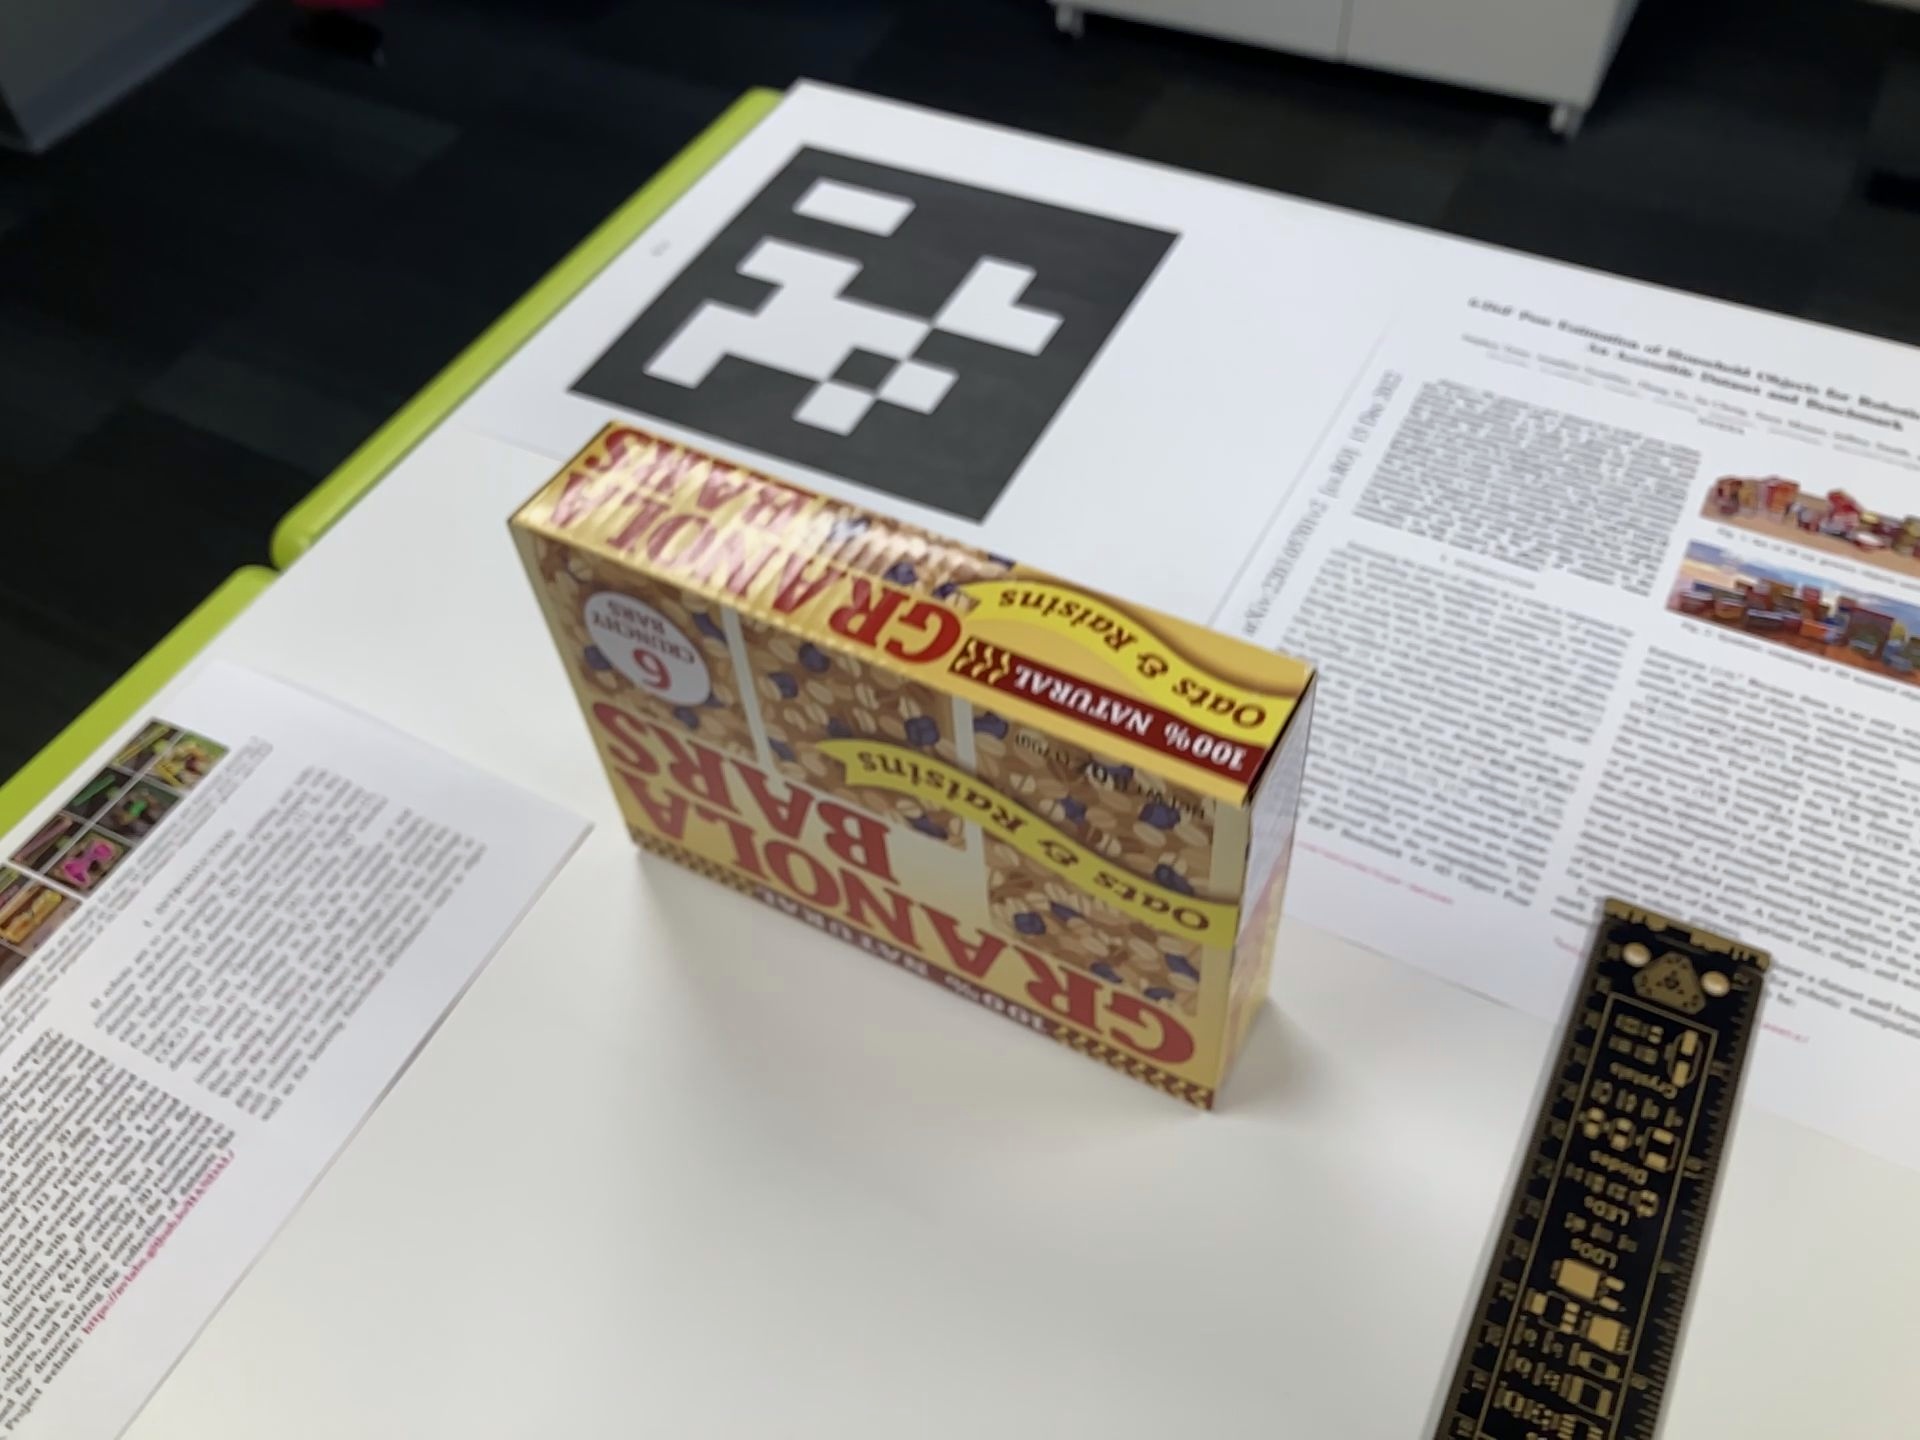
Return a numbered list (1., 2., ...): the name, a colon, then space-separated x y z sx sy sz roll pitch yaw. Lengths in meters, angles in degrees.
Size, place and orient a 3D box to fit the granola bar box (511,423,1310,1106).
1. granola bar box: -0.010 0.012 0.363 0.165 0.124 0.039 22 56 20
